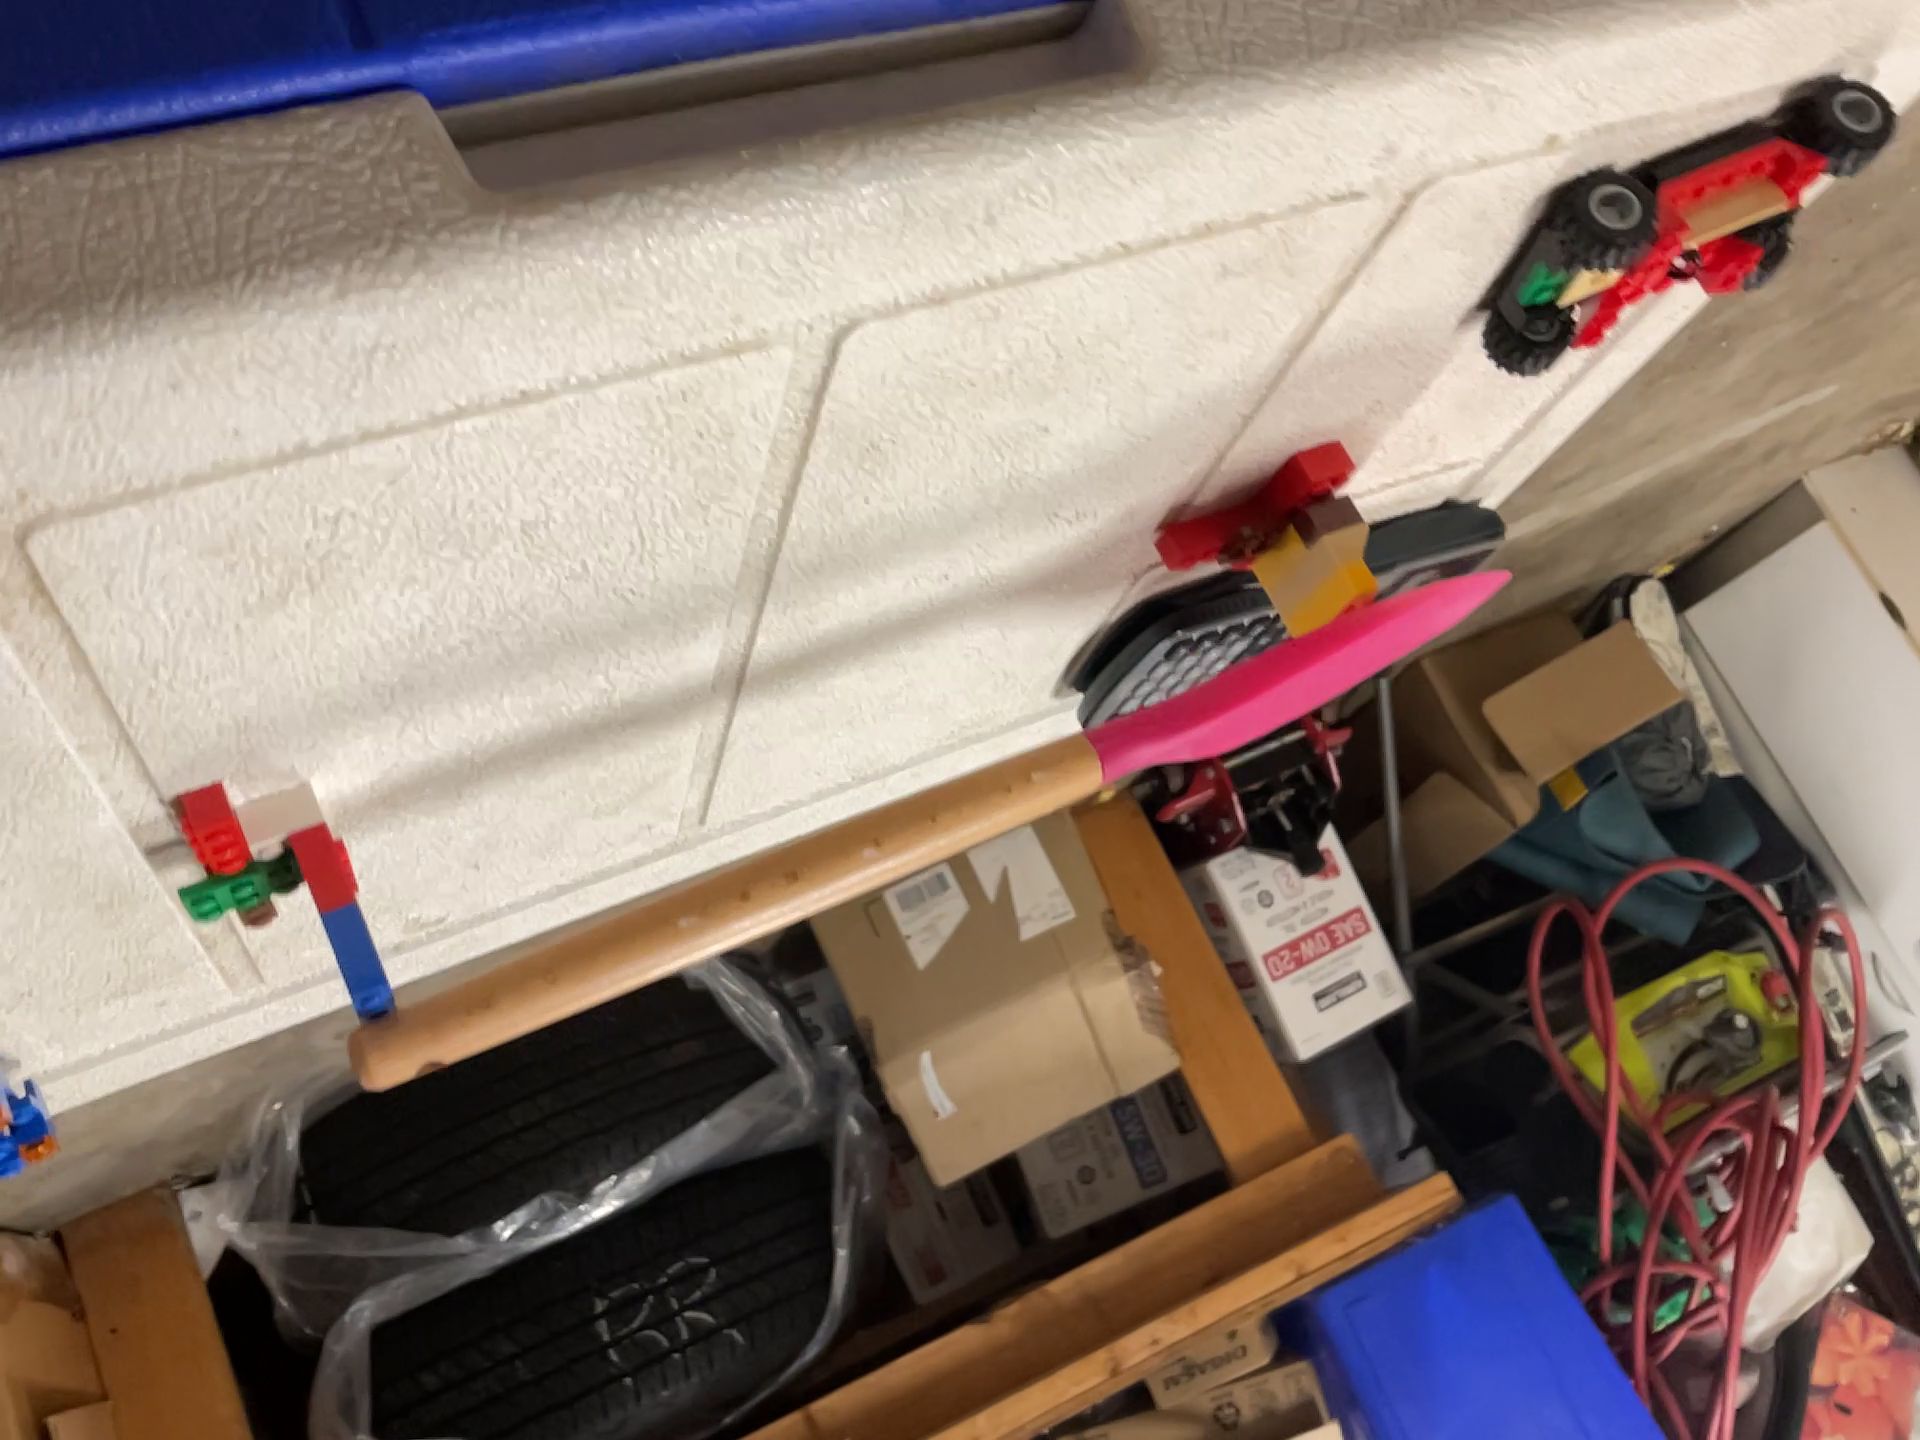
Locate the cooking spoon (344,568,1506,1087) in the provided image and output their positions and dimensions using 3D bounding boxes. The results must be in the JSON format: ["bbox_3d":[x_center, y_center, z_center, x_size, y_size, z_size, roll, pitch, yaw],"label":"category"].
[{"bbox_3d":[0.009,0.018,0.395,0.319,0.017,0.068,-22,163,-22],"label":"cooking spoon"}]
